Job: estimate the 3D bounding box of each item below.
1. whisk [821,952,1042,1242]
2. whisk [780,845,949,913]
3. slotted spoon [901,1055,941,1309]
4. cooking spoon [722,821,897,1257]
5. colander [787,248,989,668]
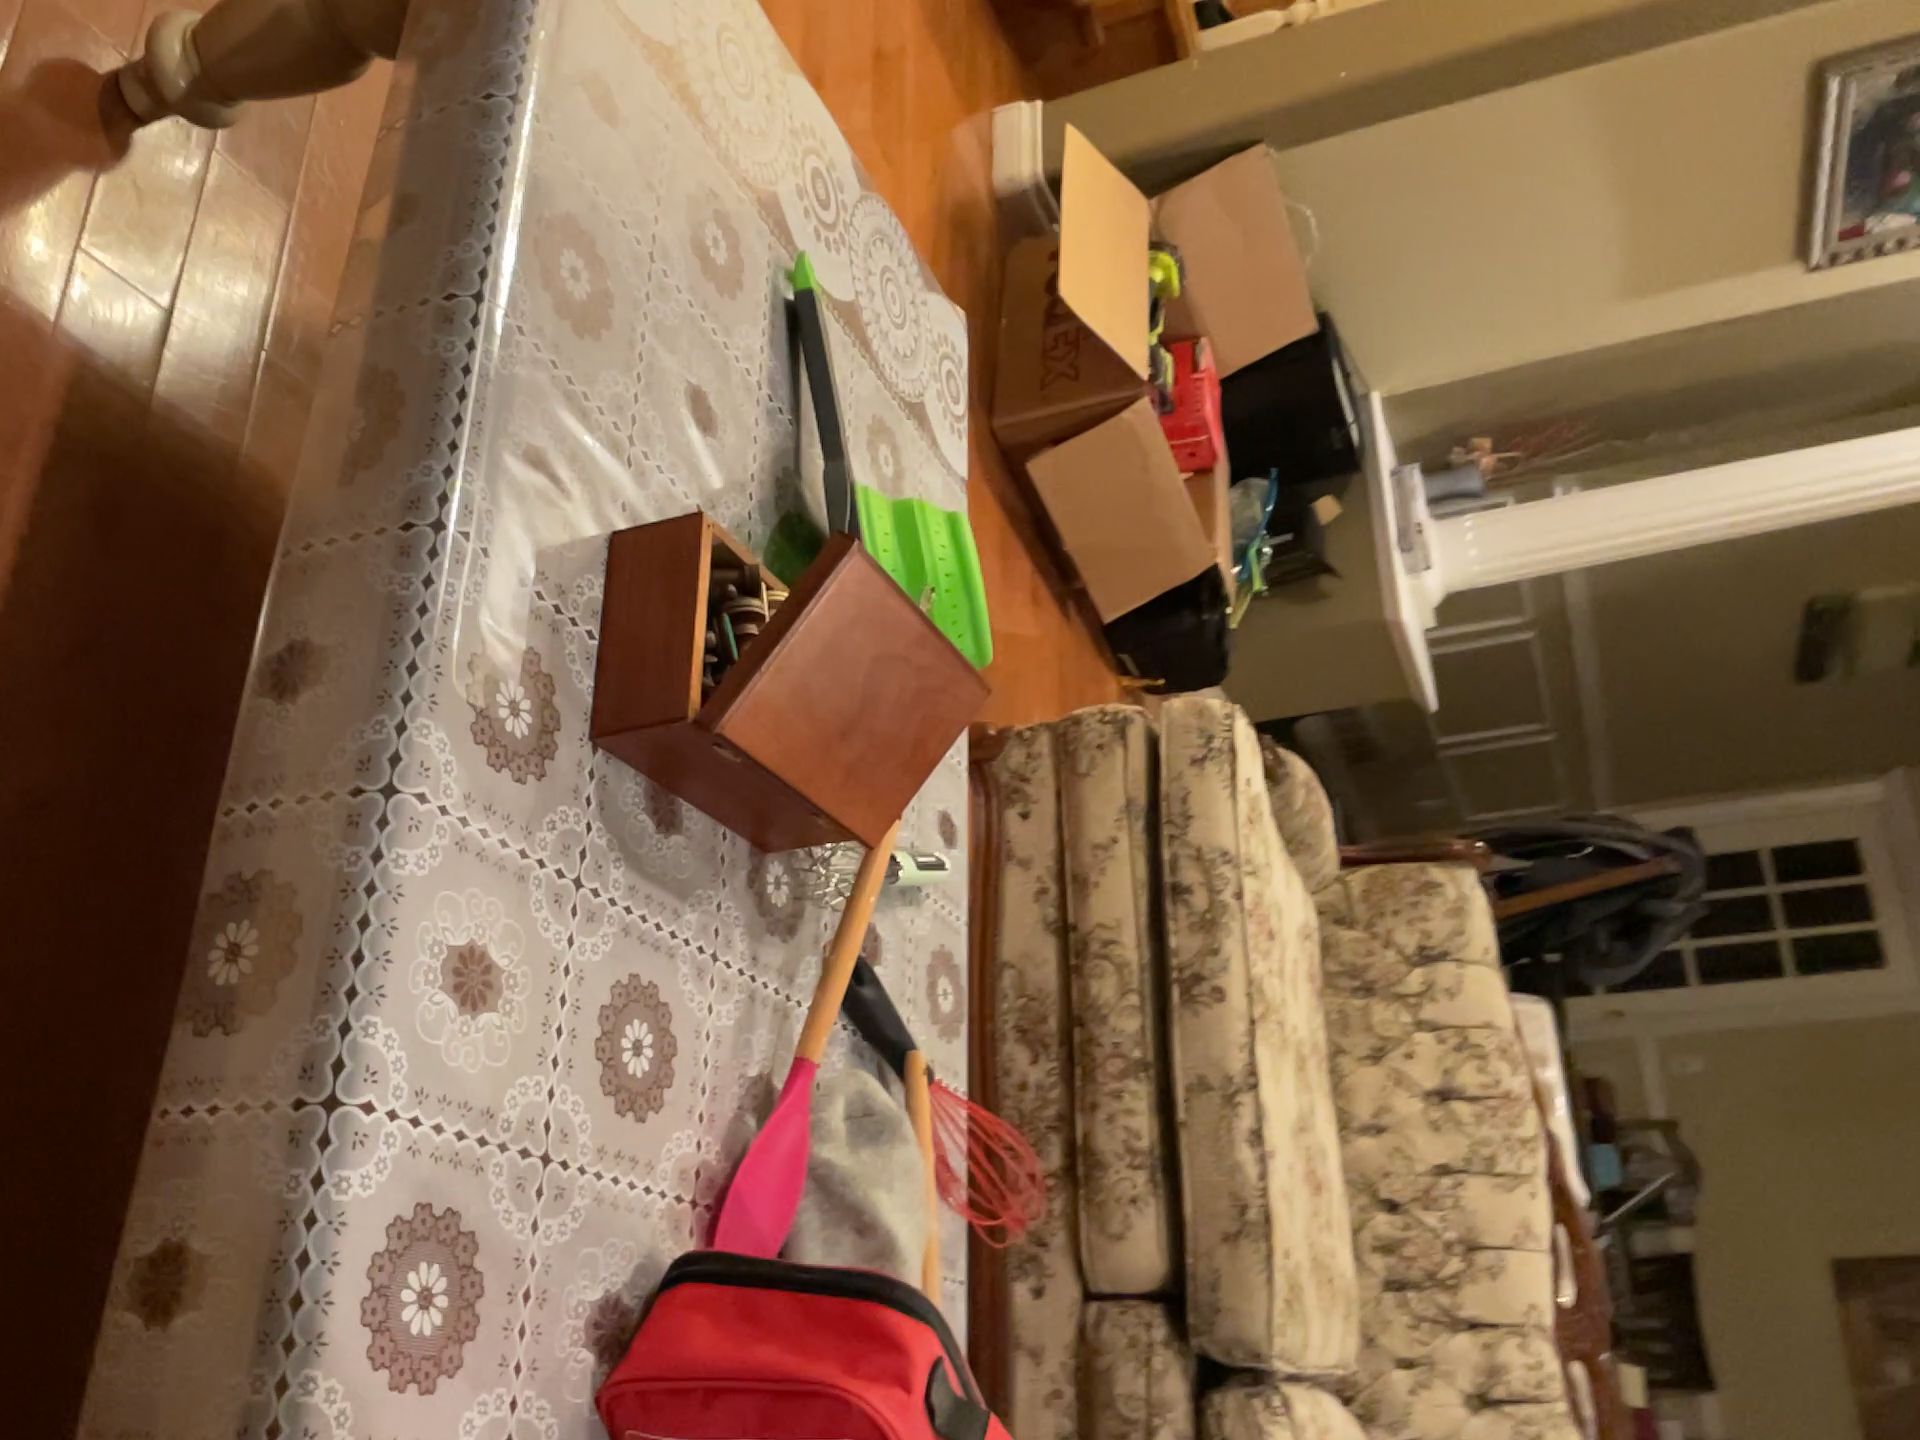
[{"bbox_3d":[-0.019,0.263,1.105,0.295,0.073,0.073,60,34,-29],"label":"whisk"},{"bbox_3d":[-0.058,0.104,1.101,0.058,0.059,0.246,-58,161,7],"label":"whisk"},{"bbox_3d":[-0.021,0.380,1.048,0.070,0.031,0.314,13,71,-68],"label":"slotted spoon"},{"bbox_3d":[-0.084,0.181,0.943,0.068,0.017,0.319,58,40,-48],"label":"cooking spoon"},{"bbox_3d":[-0.048,-0.159,1.106,0.204,0.094,0.397,80,-1,-73],"label":"colander"}]
